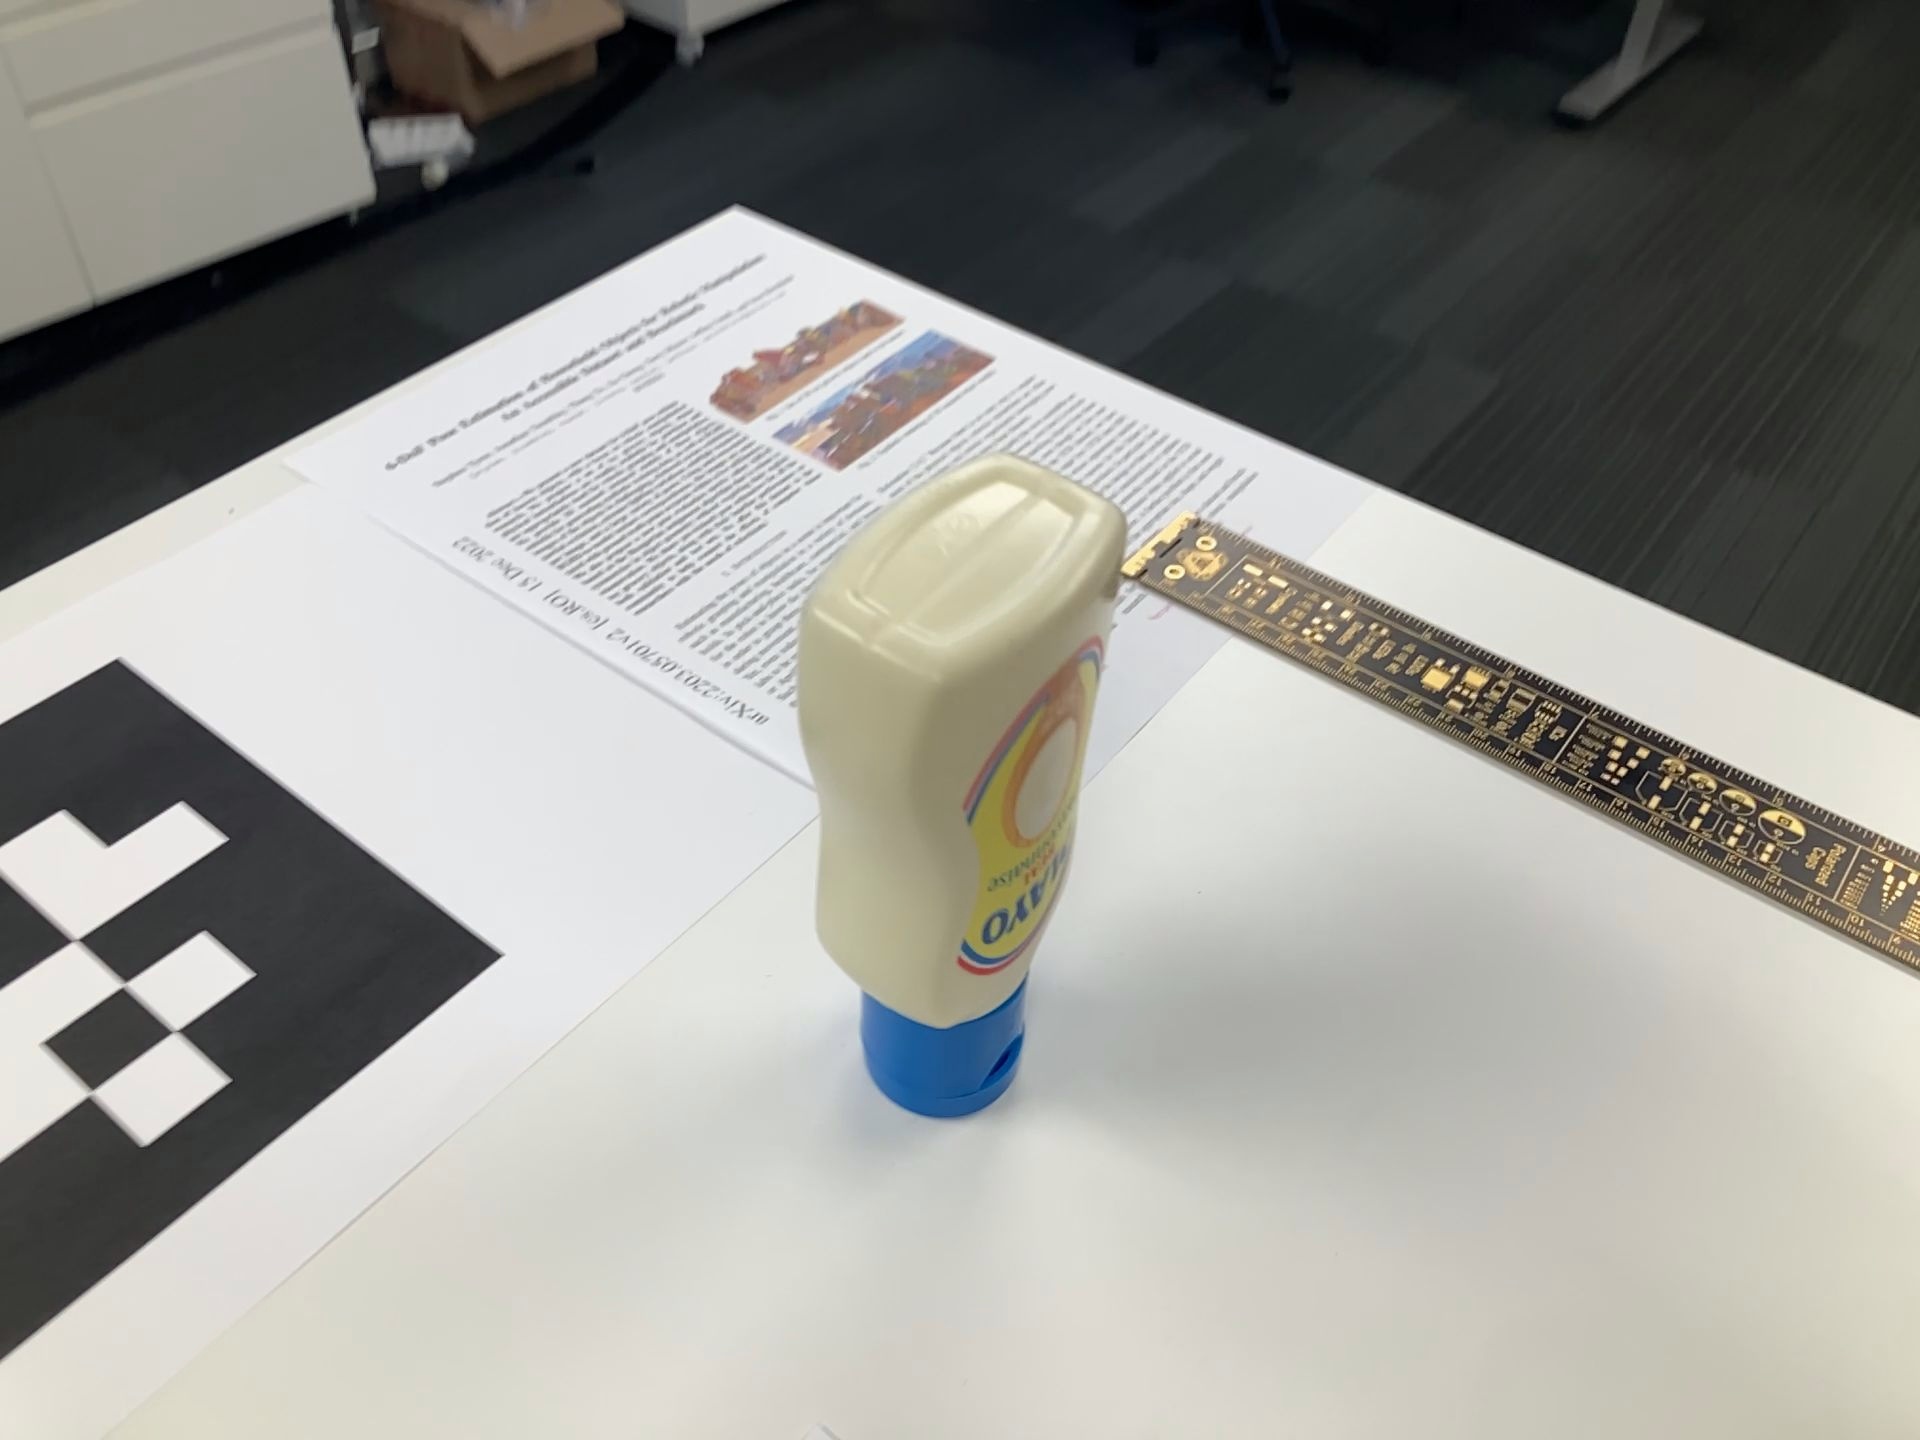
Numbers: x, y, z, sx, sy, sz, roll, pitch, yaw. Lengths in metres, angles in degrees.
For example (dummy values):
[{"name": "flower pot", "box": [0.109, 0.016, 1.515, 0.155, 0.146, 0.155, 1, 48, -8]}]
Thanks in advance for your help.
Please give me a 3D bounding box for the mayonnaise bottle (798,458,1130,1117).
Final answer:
[{"name": "mayonnaise bottle", "box": [-0.001, 0.024, 0.312, 0.041, 0.148, 0.065, 29, 51, 23]}]
